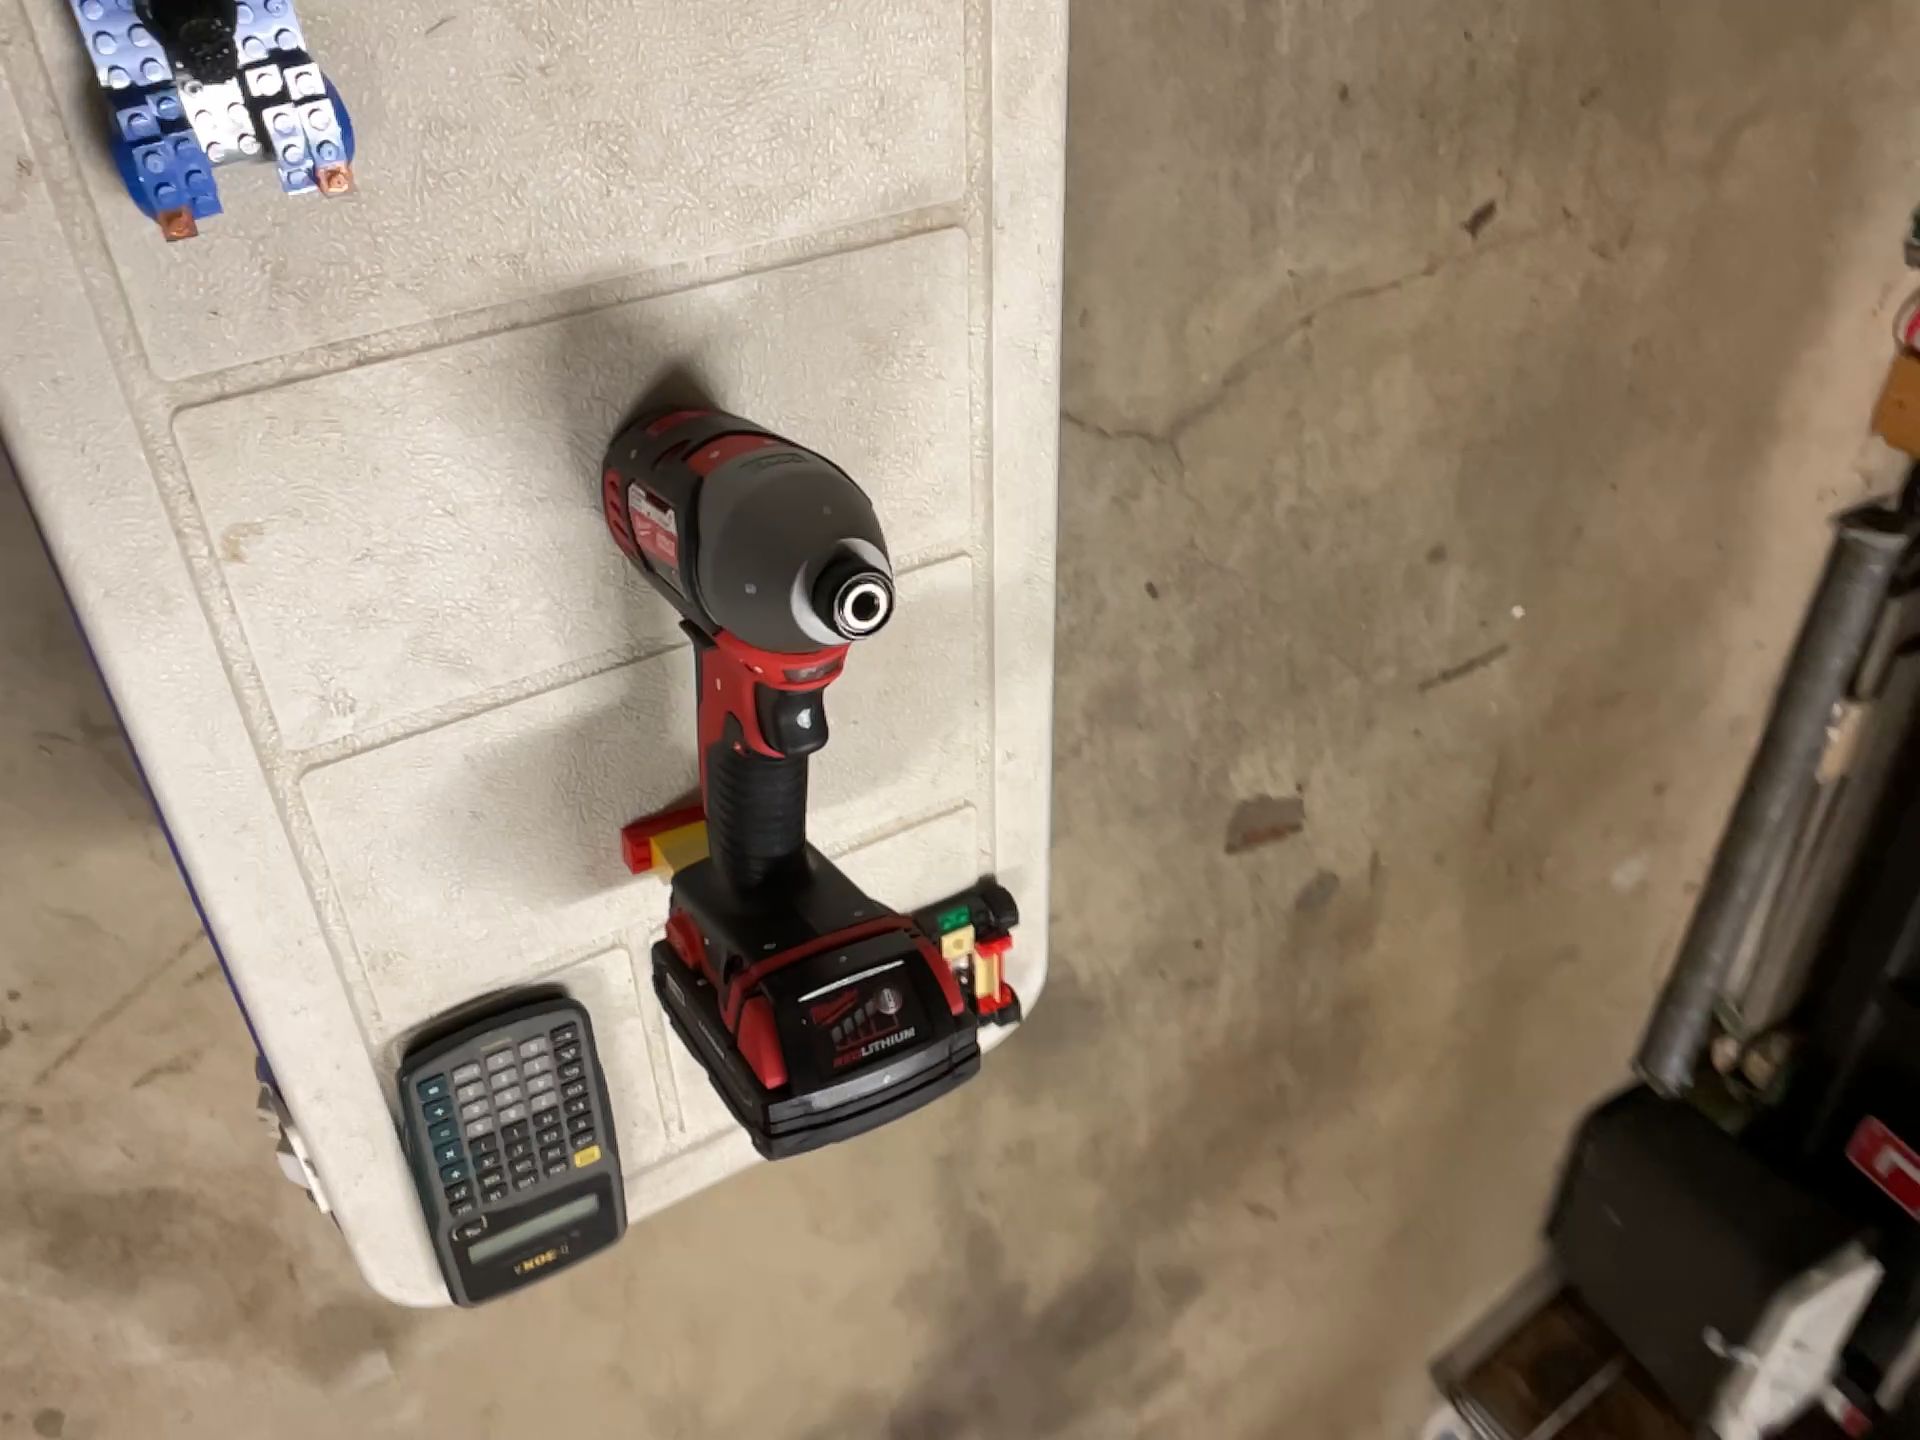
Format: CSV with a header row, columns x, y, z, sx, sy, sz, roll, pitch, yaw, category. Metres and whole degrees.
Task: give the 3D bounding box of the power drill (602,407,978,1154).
x,y,z,sx,sy,sz,roll,pitch,yaw,category
-0.056,0.018,0.512,0.078,0.143,0.219,-17,118,-26,power drill
